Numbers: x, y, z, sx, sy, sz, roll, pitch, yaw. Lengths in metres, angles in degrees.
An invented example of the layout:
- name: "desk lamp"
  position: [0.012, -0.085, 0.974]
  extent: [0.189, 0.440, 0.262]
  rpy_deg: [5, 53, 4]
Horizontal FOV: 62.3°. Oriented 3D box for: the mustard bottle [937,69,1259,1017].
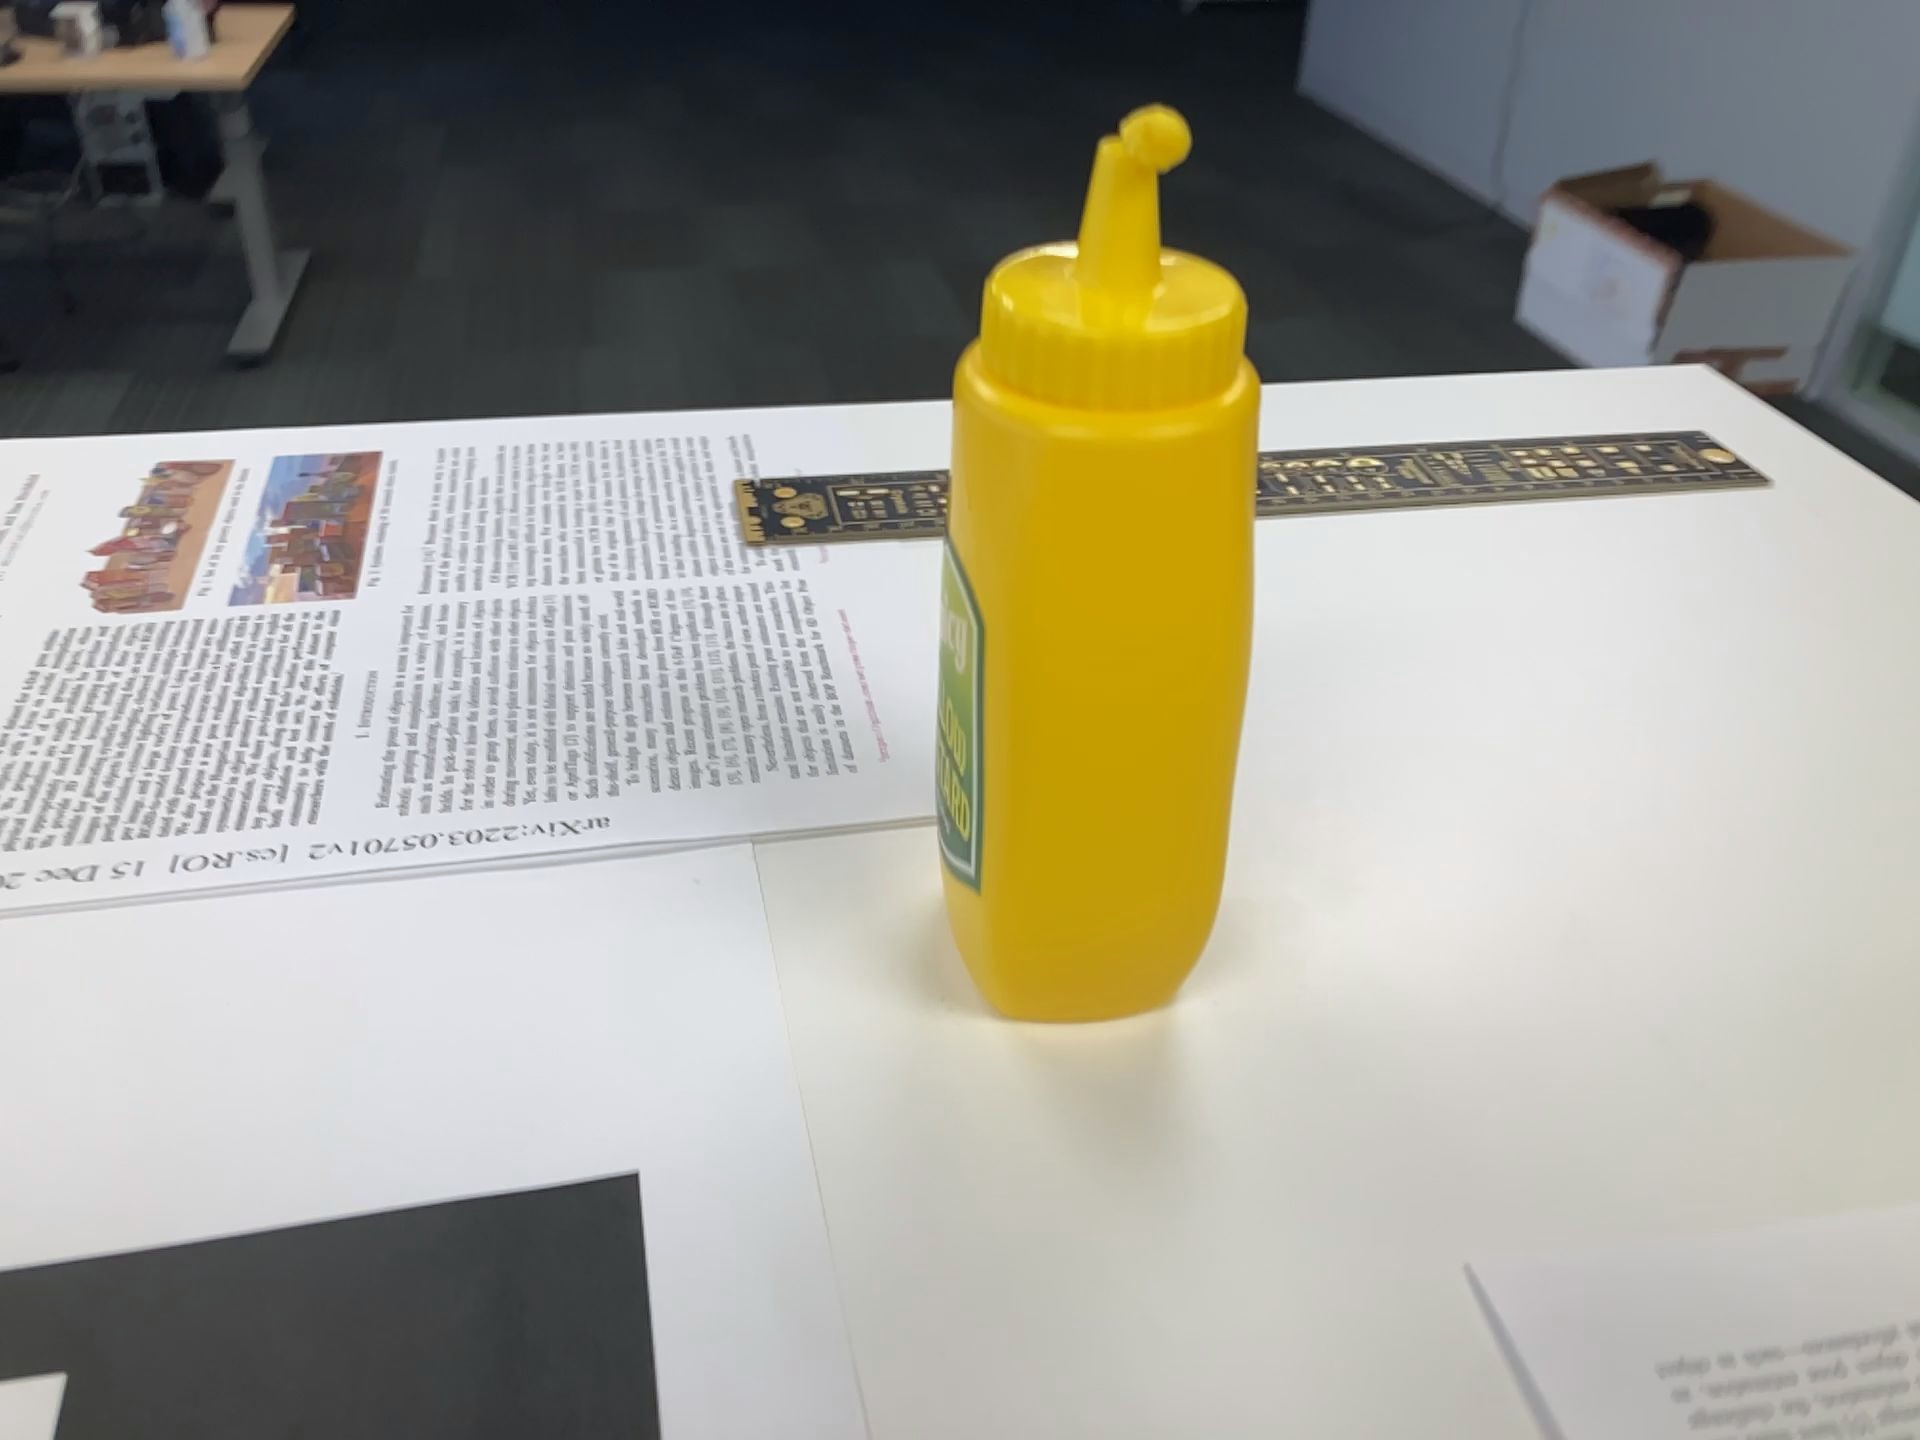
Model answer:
- name: "mustard bottle"
  position: [0.021, -0.025, 0.266]
  extent: [0.049, 0.160, 0.065]
  rpy_deg: [-4, 33, -8]
